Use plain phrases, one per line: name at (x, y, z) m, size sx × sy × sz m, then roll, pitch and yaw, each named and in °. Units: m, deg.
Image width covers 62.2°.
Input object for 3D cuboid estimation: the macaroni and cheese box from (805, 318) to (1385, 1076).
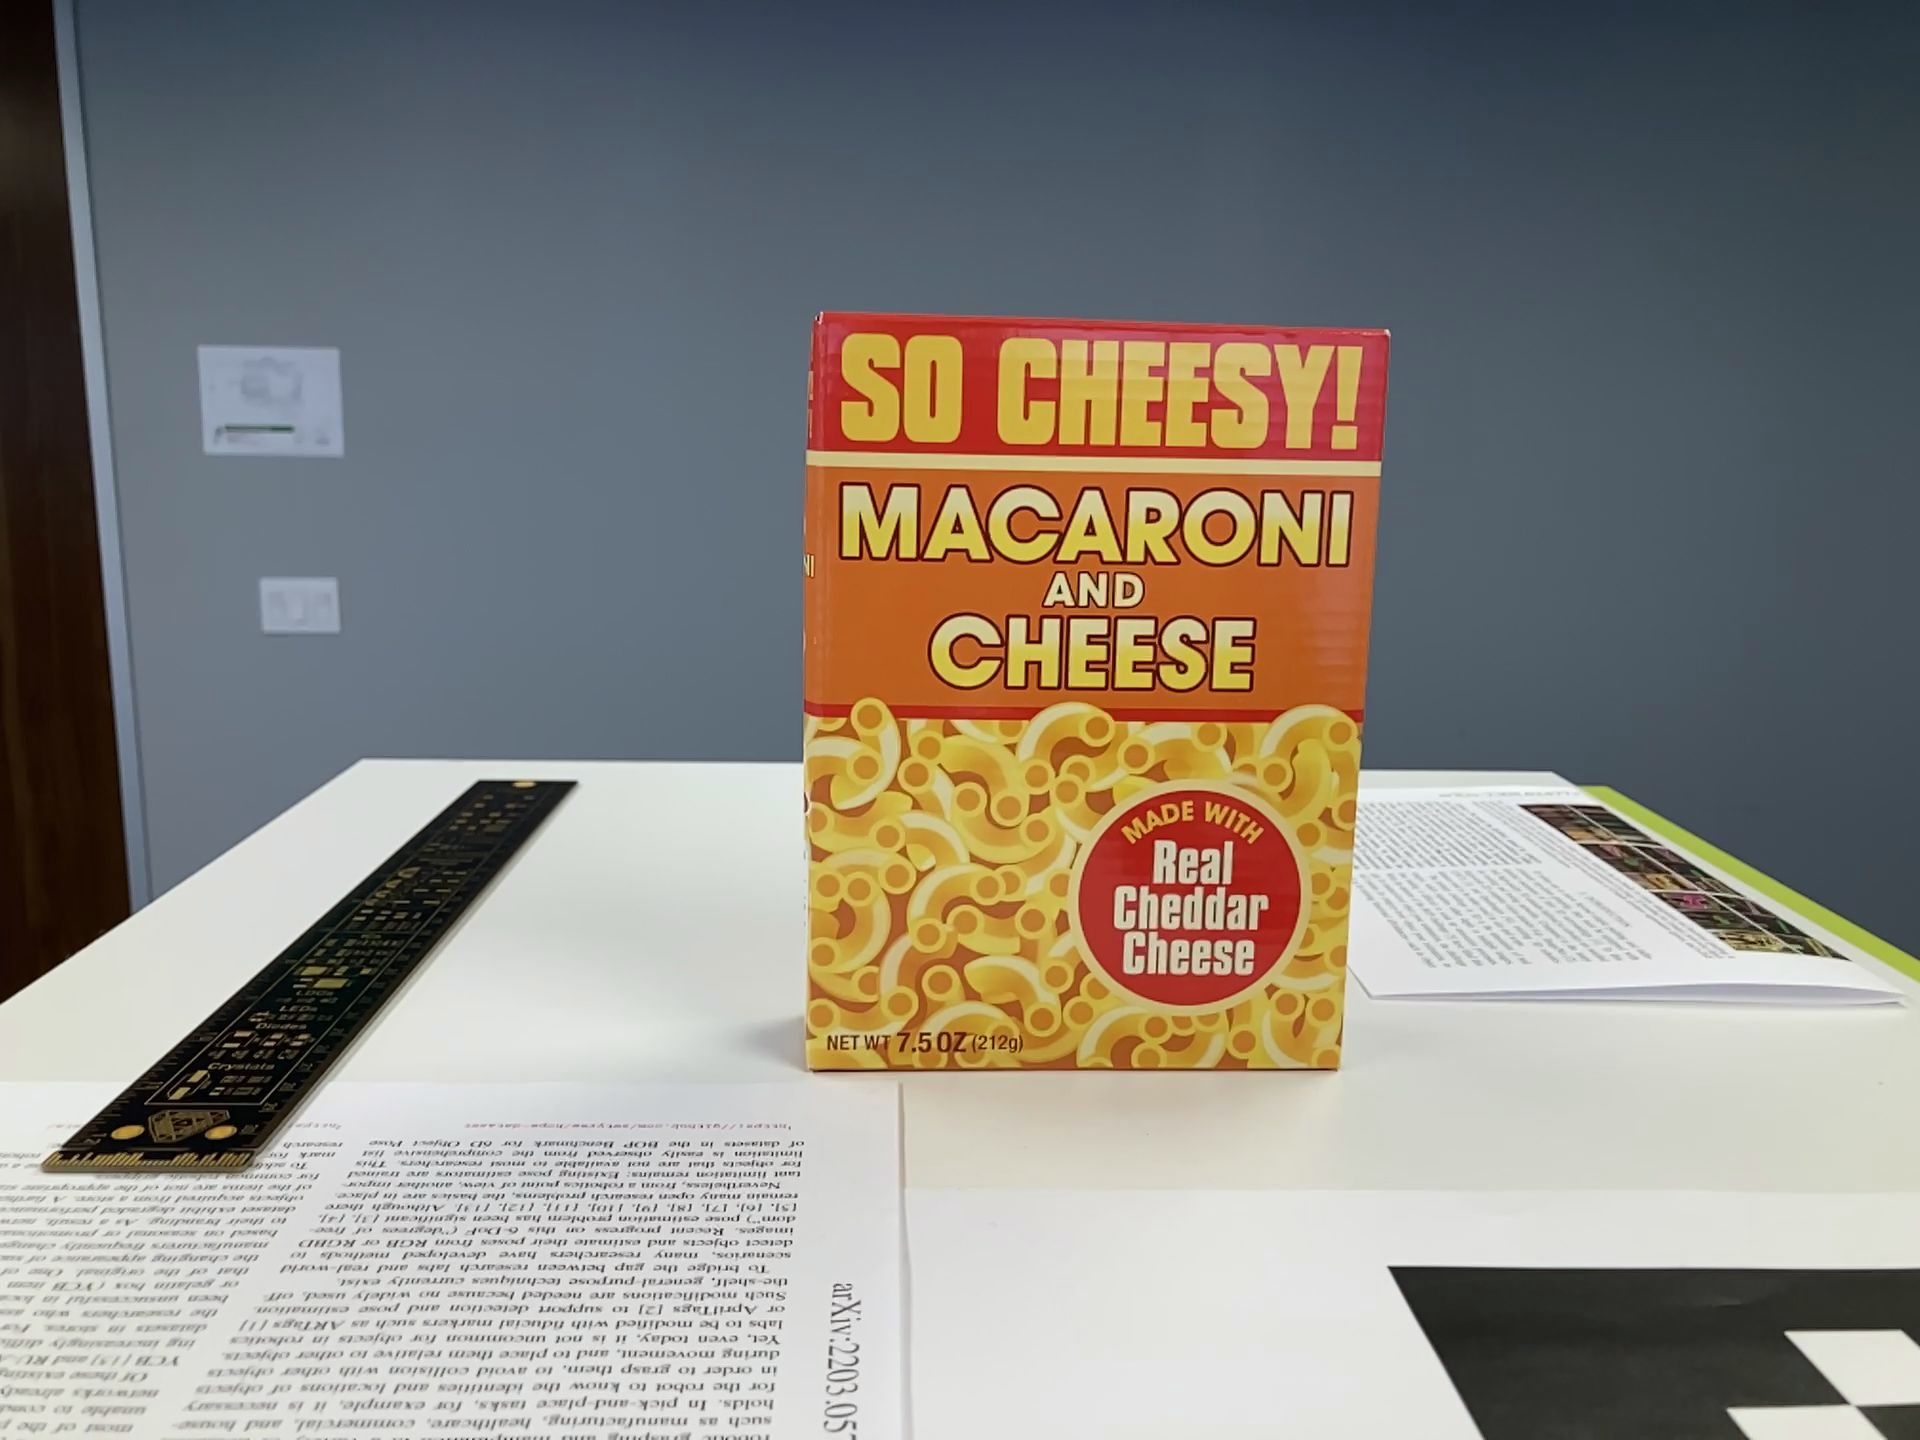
macaroni and cheese box at (0.027, -0.005, 0.365) m, size 0.124 × 0.166 × 0.040 m, roll 0°, pitch 11°, yaw -5°
